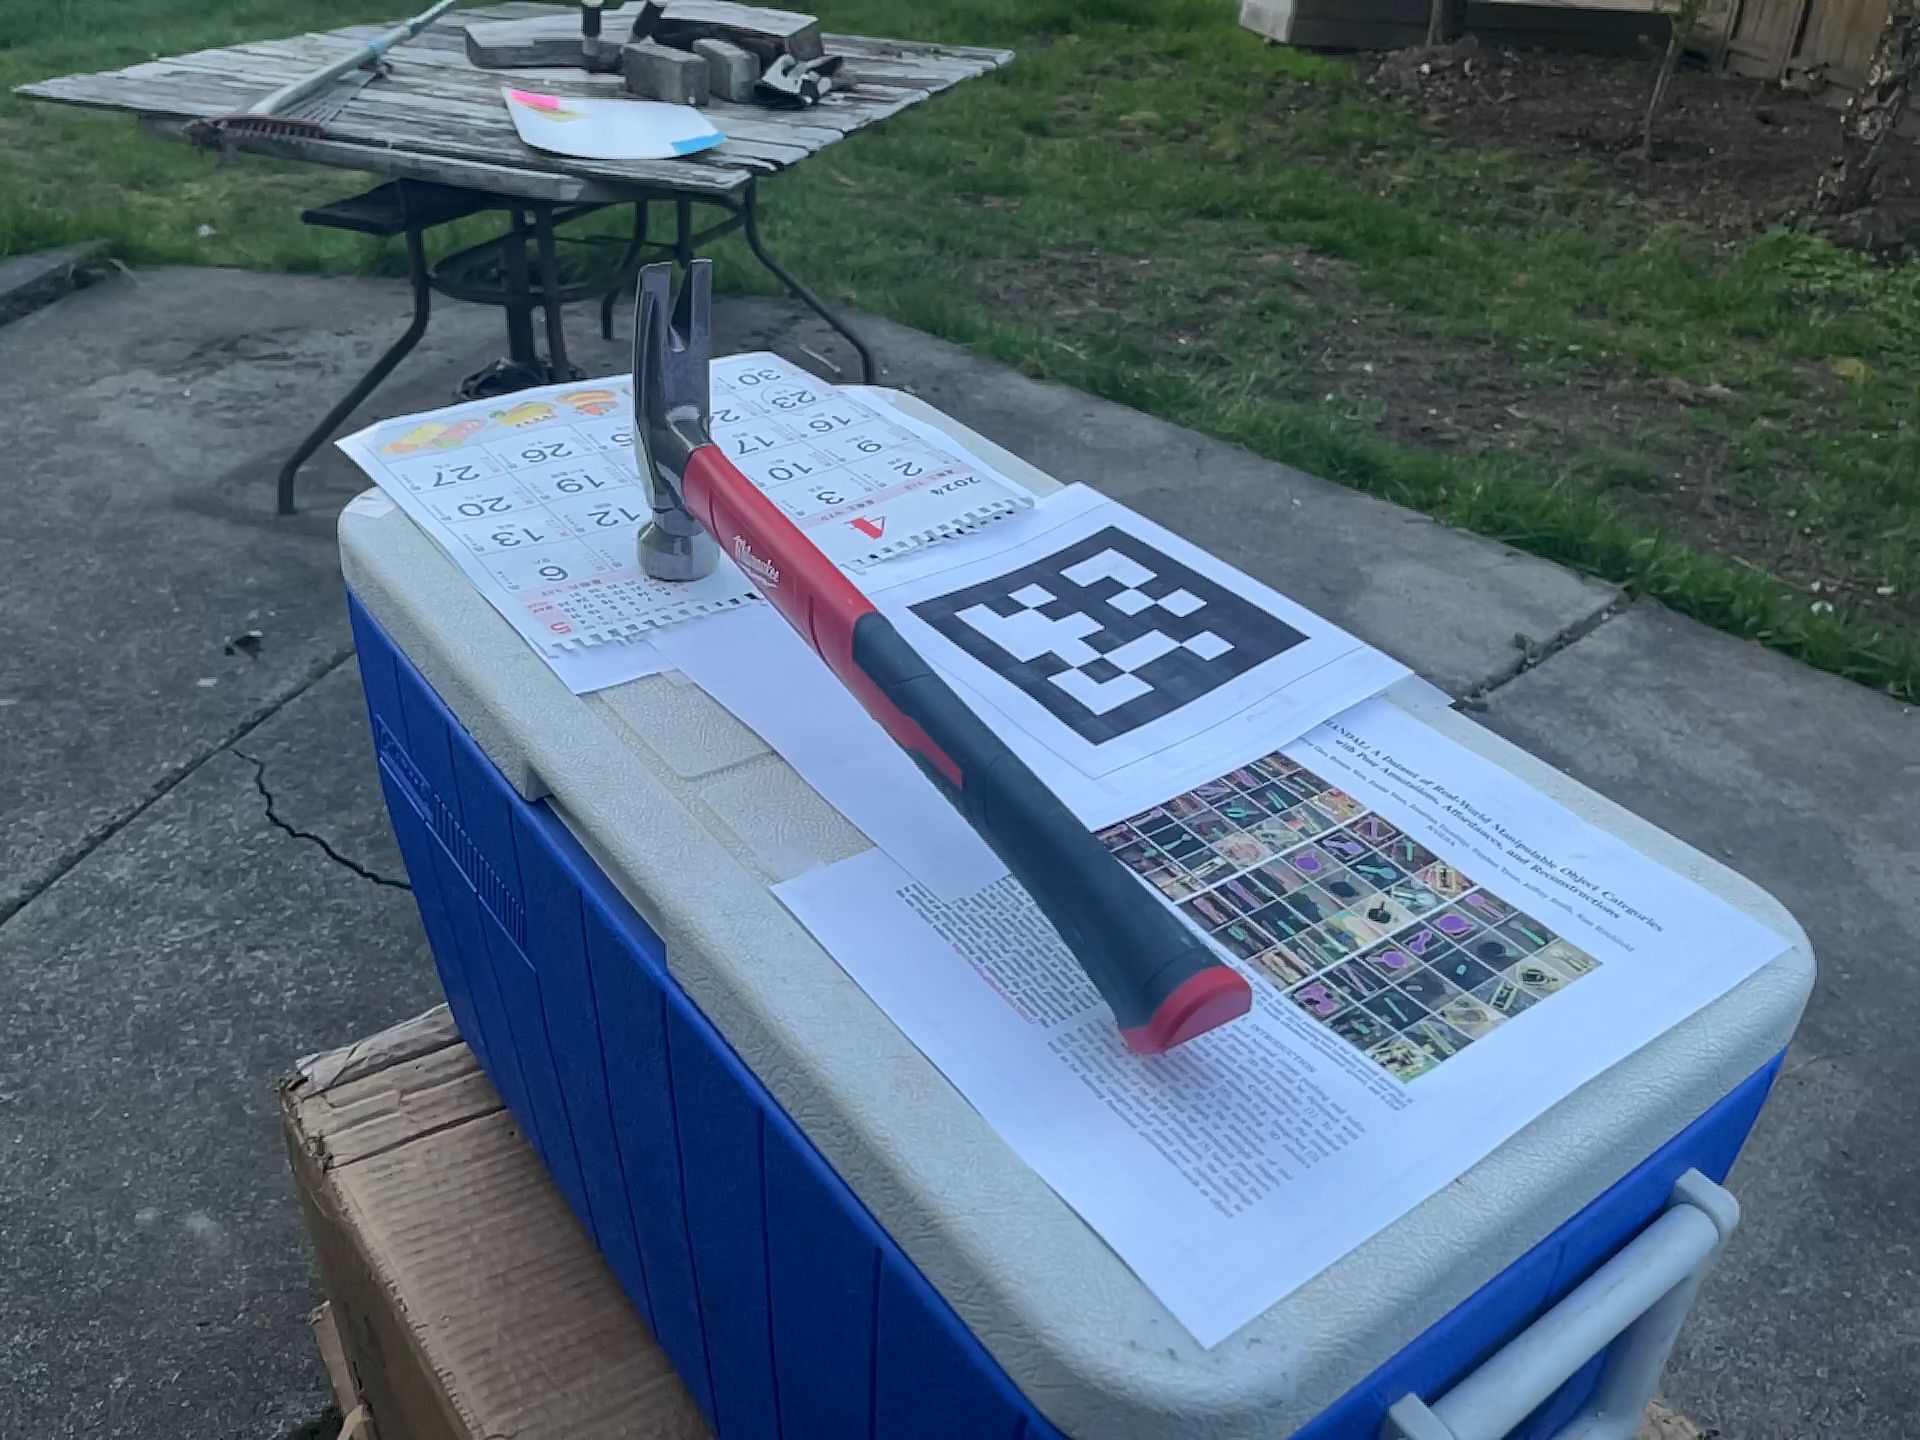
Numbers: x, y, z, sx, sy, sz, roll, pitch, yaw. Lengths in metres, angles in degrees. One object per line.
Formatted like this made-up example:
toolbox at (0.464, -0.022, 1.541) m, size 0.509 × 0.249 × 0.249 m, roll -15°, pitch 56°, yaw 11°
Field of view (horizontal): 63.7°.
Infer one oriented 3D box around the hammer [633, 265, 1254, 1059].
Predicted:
hammer at (-0.028, -0.031, 0.561) m, size 0.038 × 0.143 × 0.386 m, roll -17°, pitch 43°, yaw -29°
